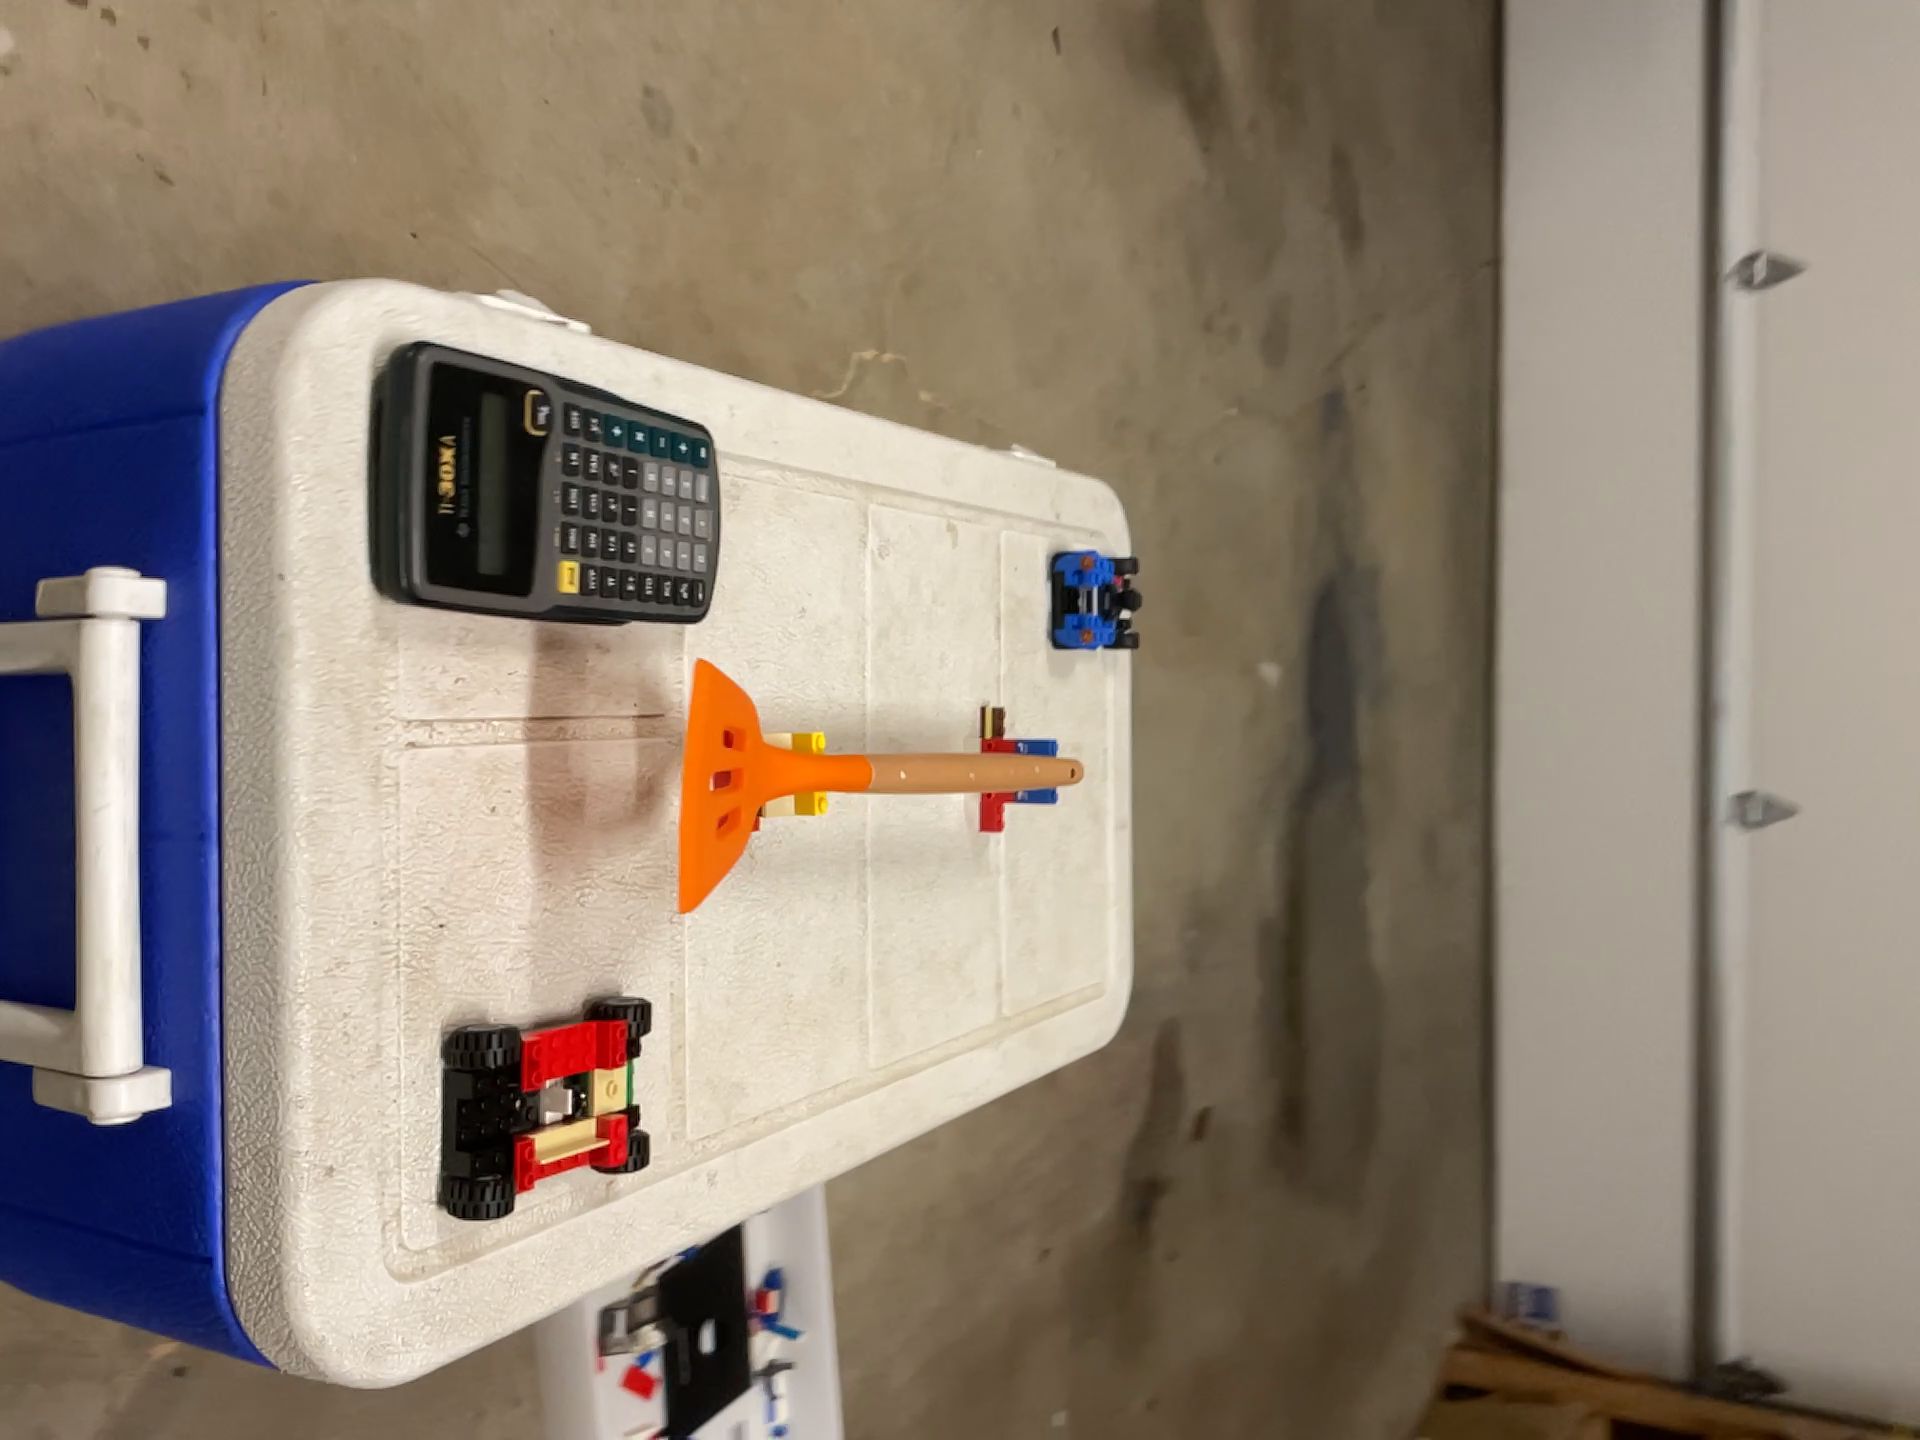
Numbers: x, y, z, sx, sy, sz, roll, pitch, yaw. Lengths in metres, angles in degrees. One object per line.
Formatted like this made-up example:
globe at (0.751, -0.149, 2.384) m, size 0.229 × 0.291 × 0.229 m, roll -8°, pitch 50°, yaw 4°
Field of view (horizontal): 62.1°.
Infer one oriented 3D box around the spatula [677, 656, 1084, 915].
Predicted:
spatula at (-0.020, 0.022, 0.634) m, size 0.322 × 0.041 × 0.081 m, roll 2°, pitch 91°, yaw -59°
